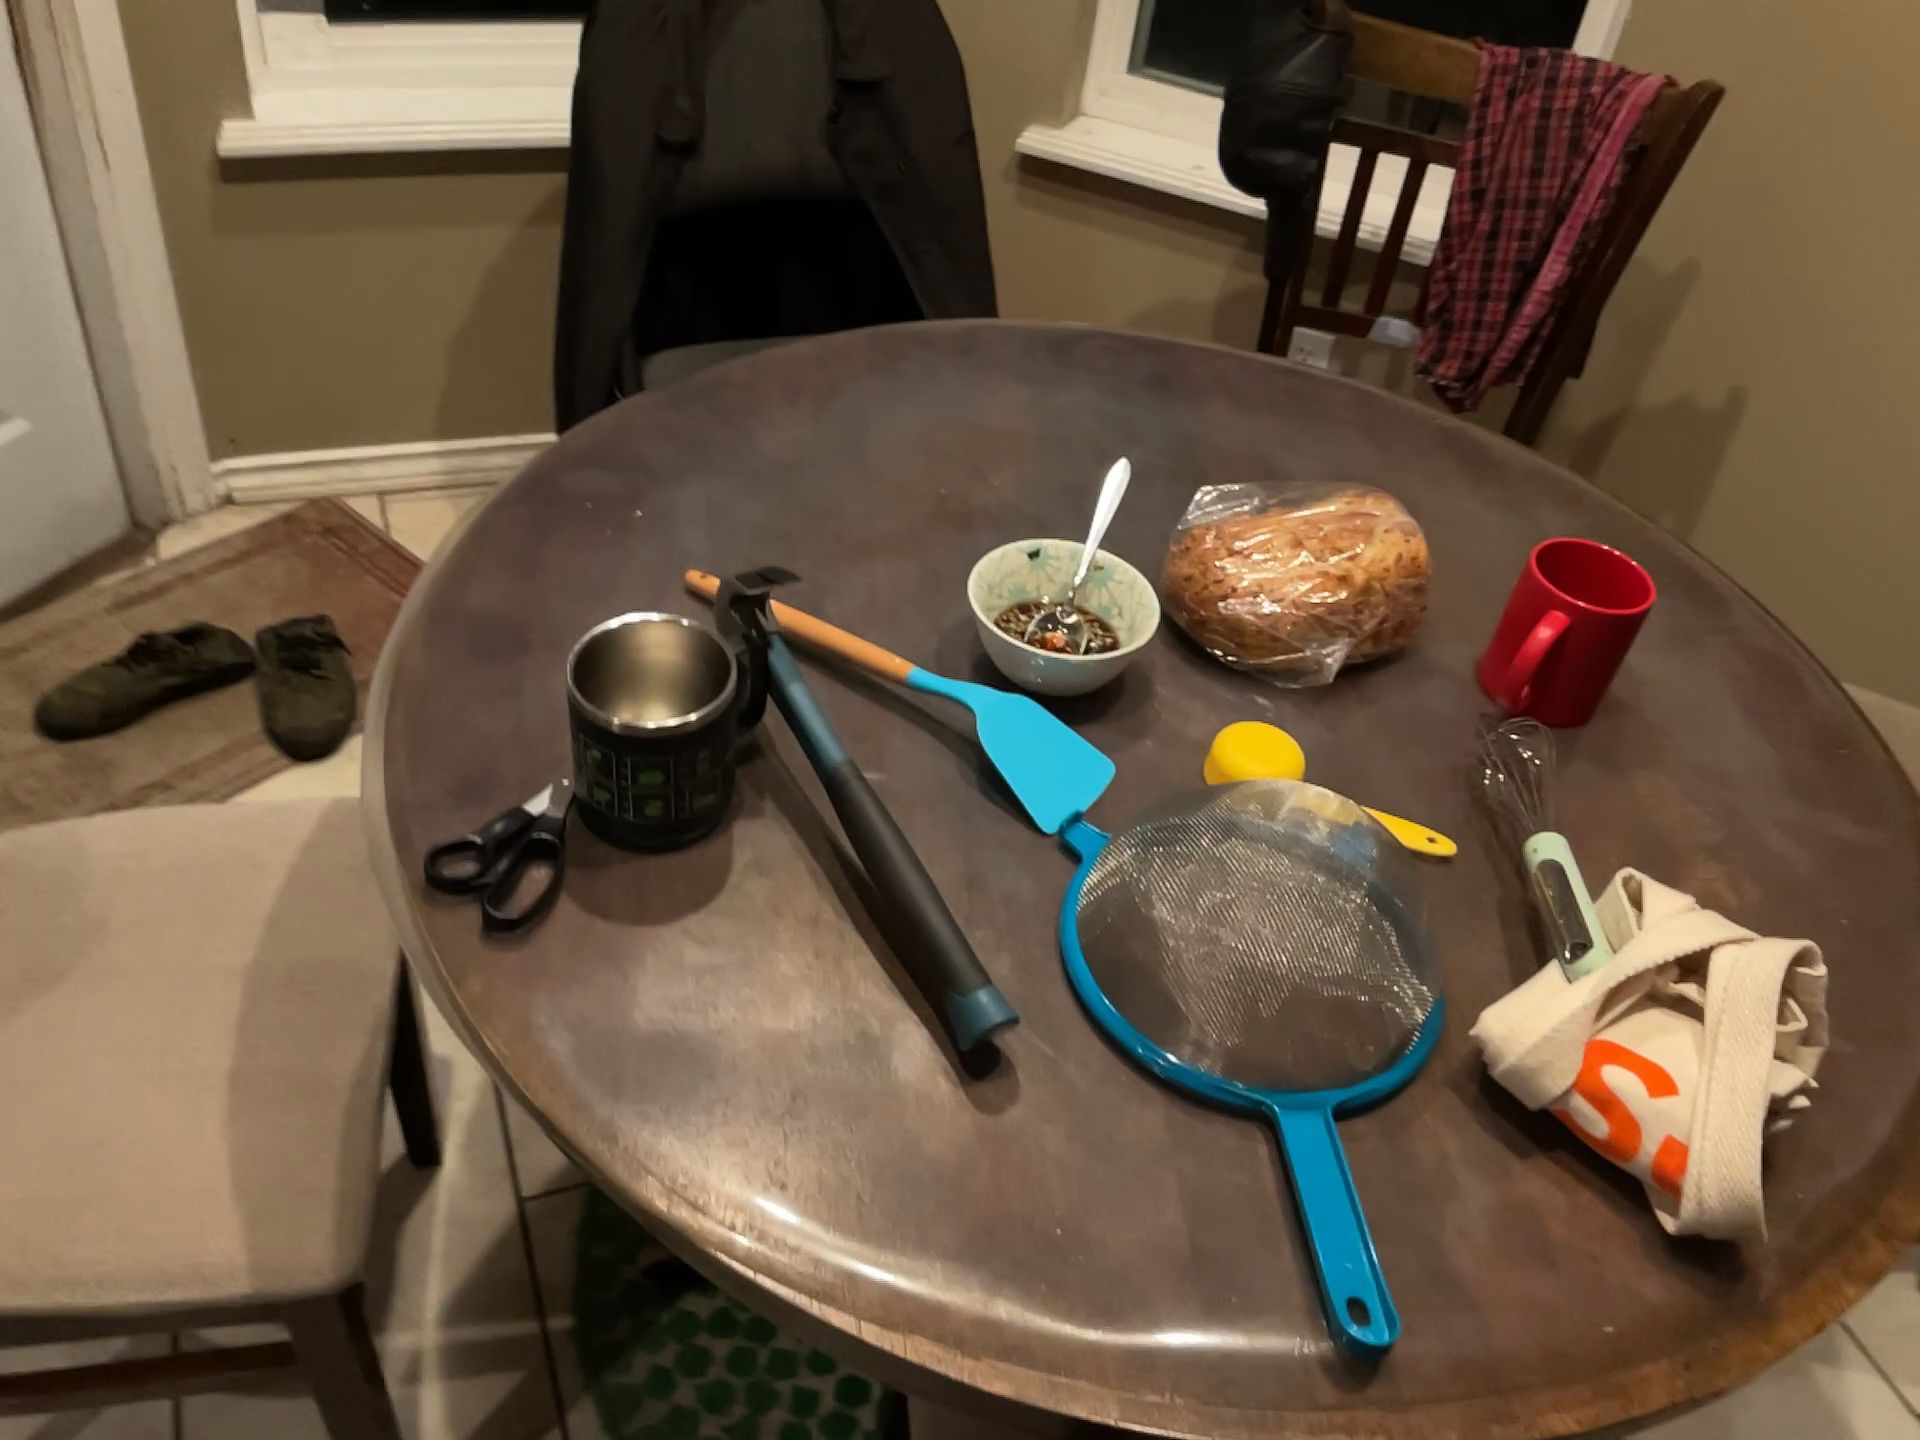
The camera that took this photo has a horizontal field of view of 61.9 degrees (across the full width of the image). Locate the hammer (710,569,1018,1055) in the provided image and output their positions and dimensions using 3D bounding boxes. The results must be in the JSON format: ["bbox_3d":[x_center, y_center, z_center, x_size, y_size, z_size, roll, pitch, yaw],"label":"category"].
[{"bbox_3d":[-0.061,0.044,0.882,0.033,0.128,0.331,-18,56,-24],"label":"hammer"}]

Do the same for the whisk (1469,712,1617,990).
[{"bbox_3d":[0.337,0.069,0.928,0.059,0.057,0.246,35,28,-16],"label":"whisk"}]

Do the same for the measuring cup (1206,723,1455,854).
[{"bbox_3d":[0.227,0.043,0.974,0.156,0.029,0.062,20,42,15],"label":"measuring cup"}]

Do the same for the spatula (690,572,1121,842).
[{"bbox_3d":[-0.049,-0.024,1.012,0.317,0.044,0.082,26,44,25],"label":"spatula"}]

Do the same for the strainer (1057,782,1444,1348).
[{"bbox_3d":[0.170,0.138,0.808,0.211,0.095,0.341,1,37,-7],"label":"strainer"}]
